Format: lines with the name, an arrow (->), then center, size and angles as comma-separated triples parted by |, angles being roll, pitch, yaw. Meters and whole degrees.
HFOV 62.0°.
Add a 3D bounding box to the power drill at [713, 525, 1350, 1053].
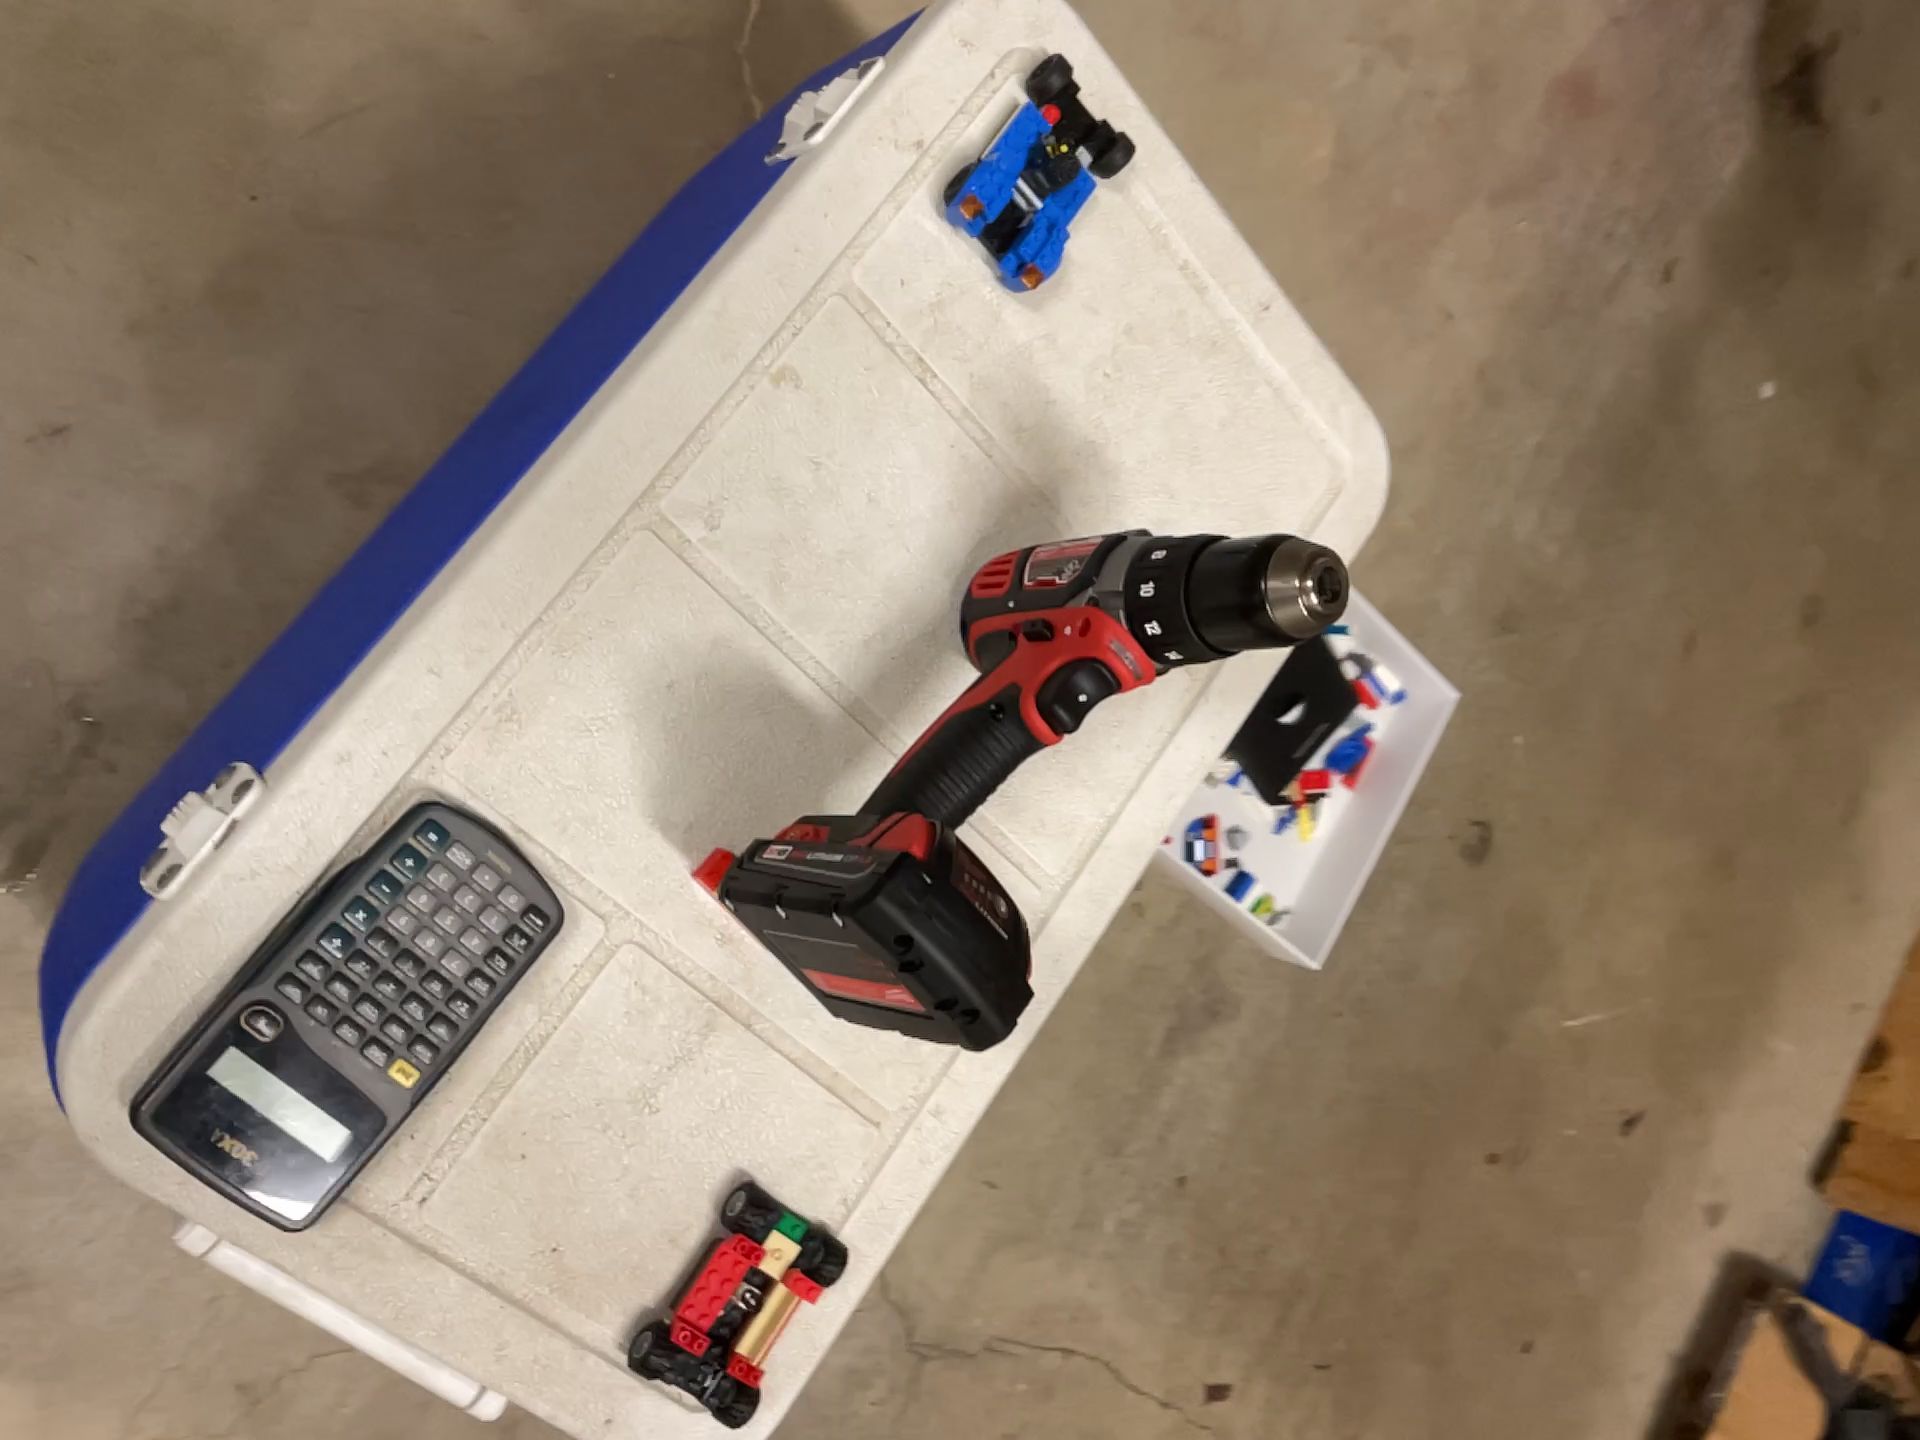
power drill -> 0.031, 0.010, 0.609 | 0.080, 0.187, 0.227 | 51, 61, -26
